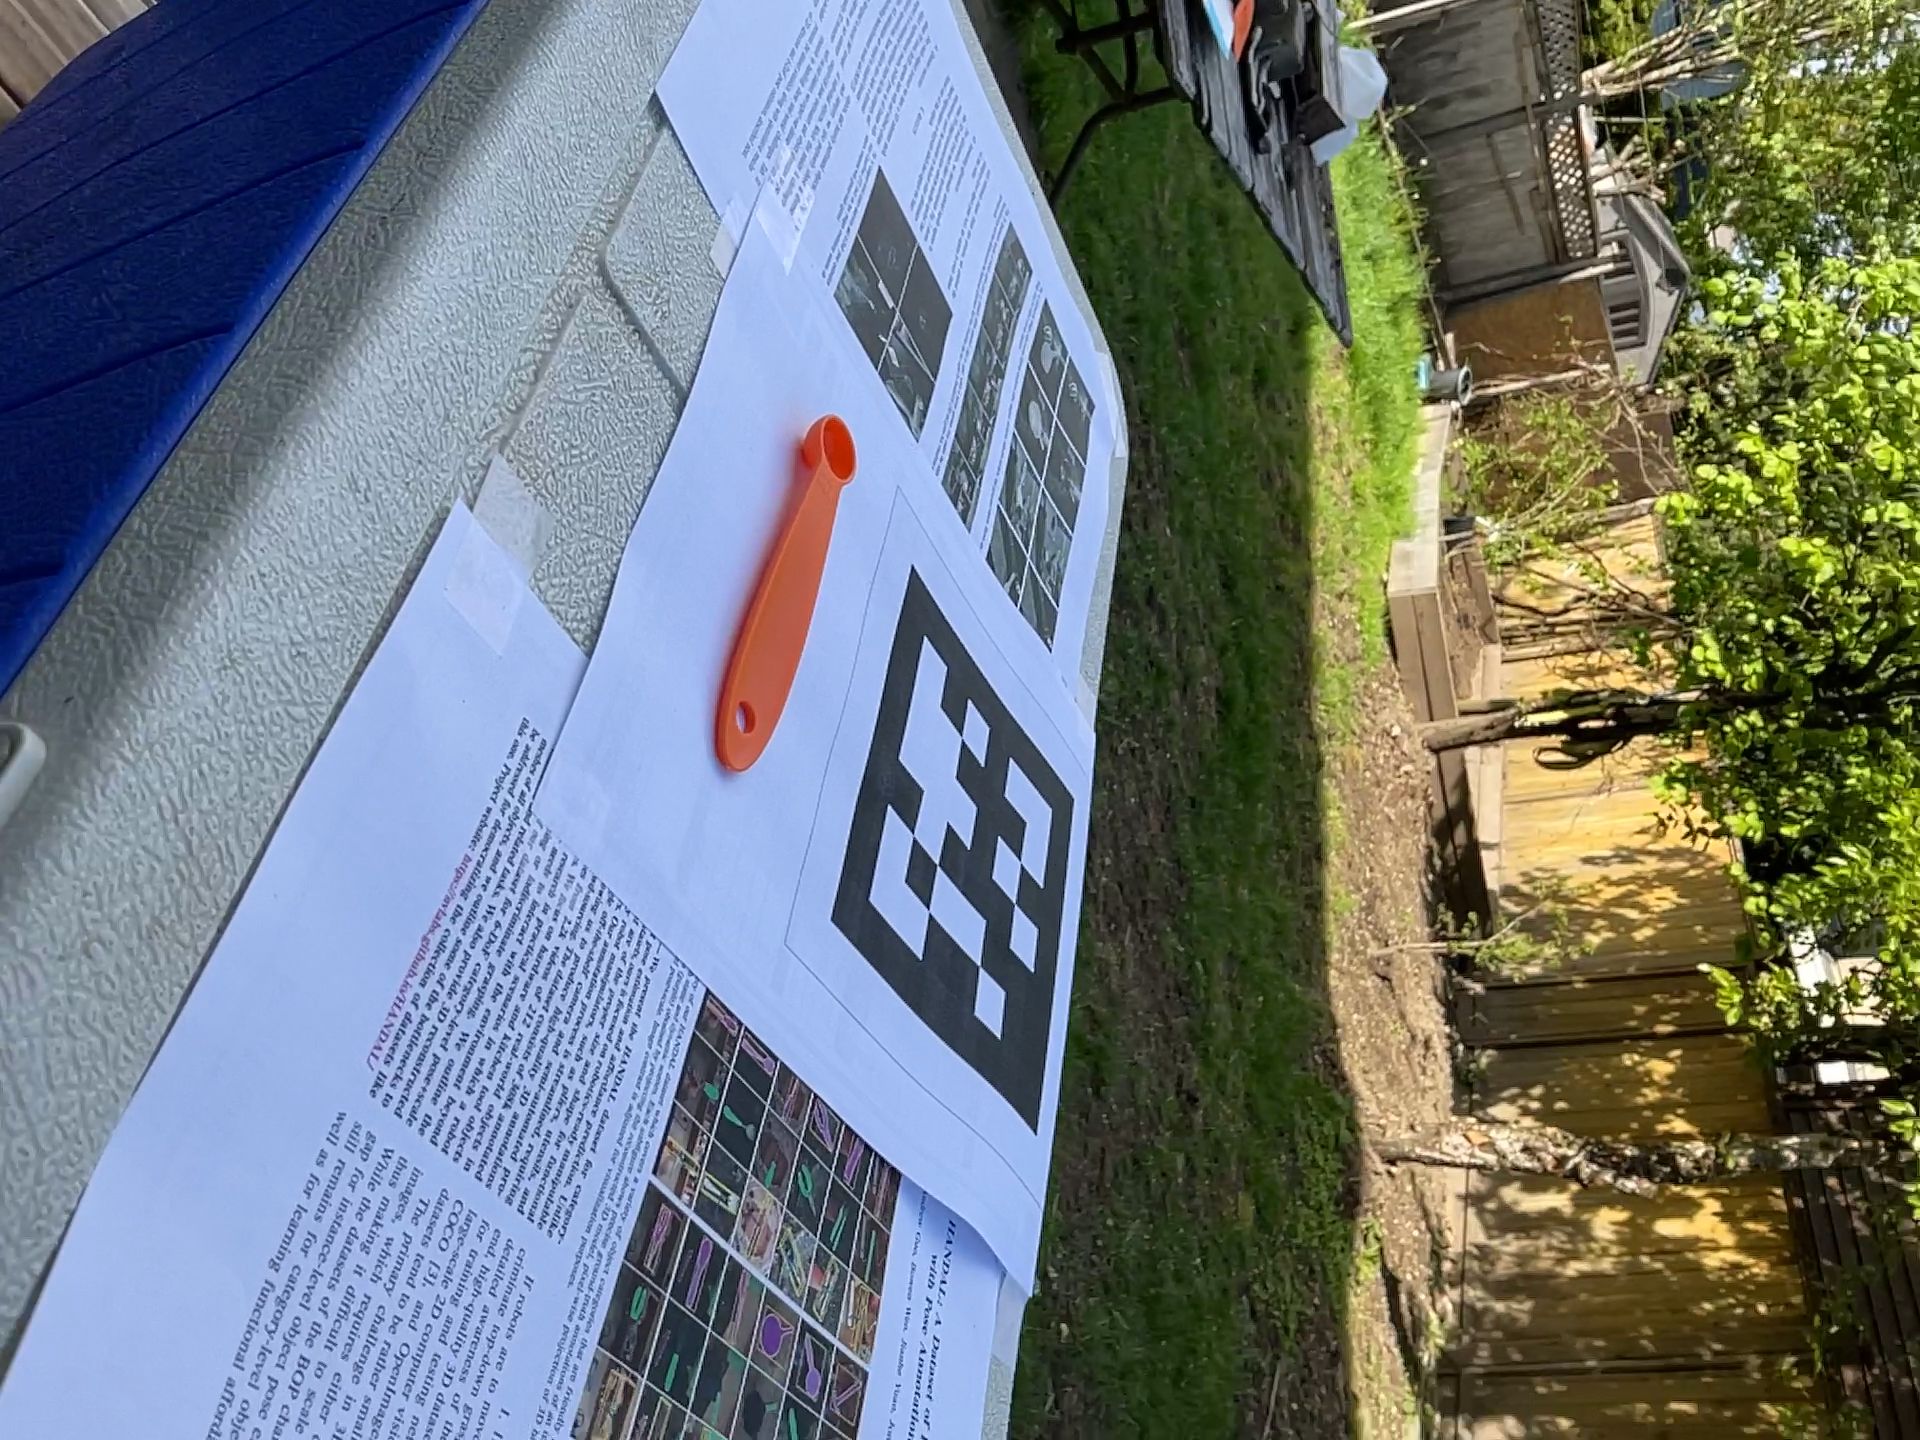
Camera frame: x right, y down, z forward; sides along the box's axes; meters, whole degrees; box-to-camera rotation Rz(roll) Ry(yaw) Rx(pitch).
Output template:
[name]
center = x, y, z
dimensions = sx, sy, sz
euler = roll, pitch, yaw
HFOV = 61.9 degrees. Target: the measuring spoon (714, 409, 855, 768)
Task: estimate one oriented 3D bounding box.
[measuring spoon]
center = -0.047, -0.036, 0.409
dimensions = 0.021, 0.011, 0.117
euler = 56, 37, -44
